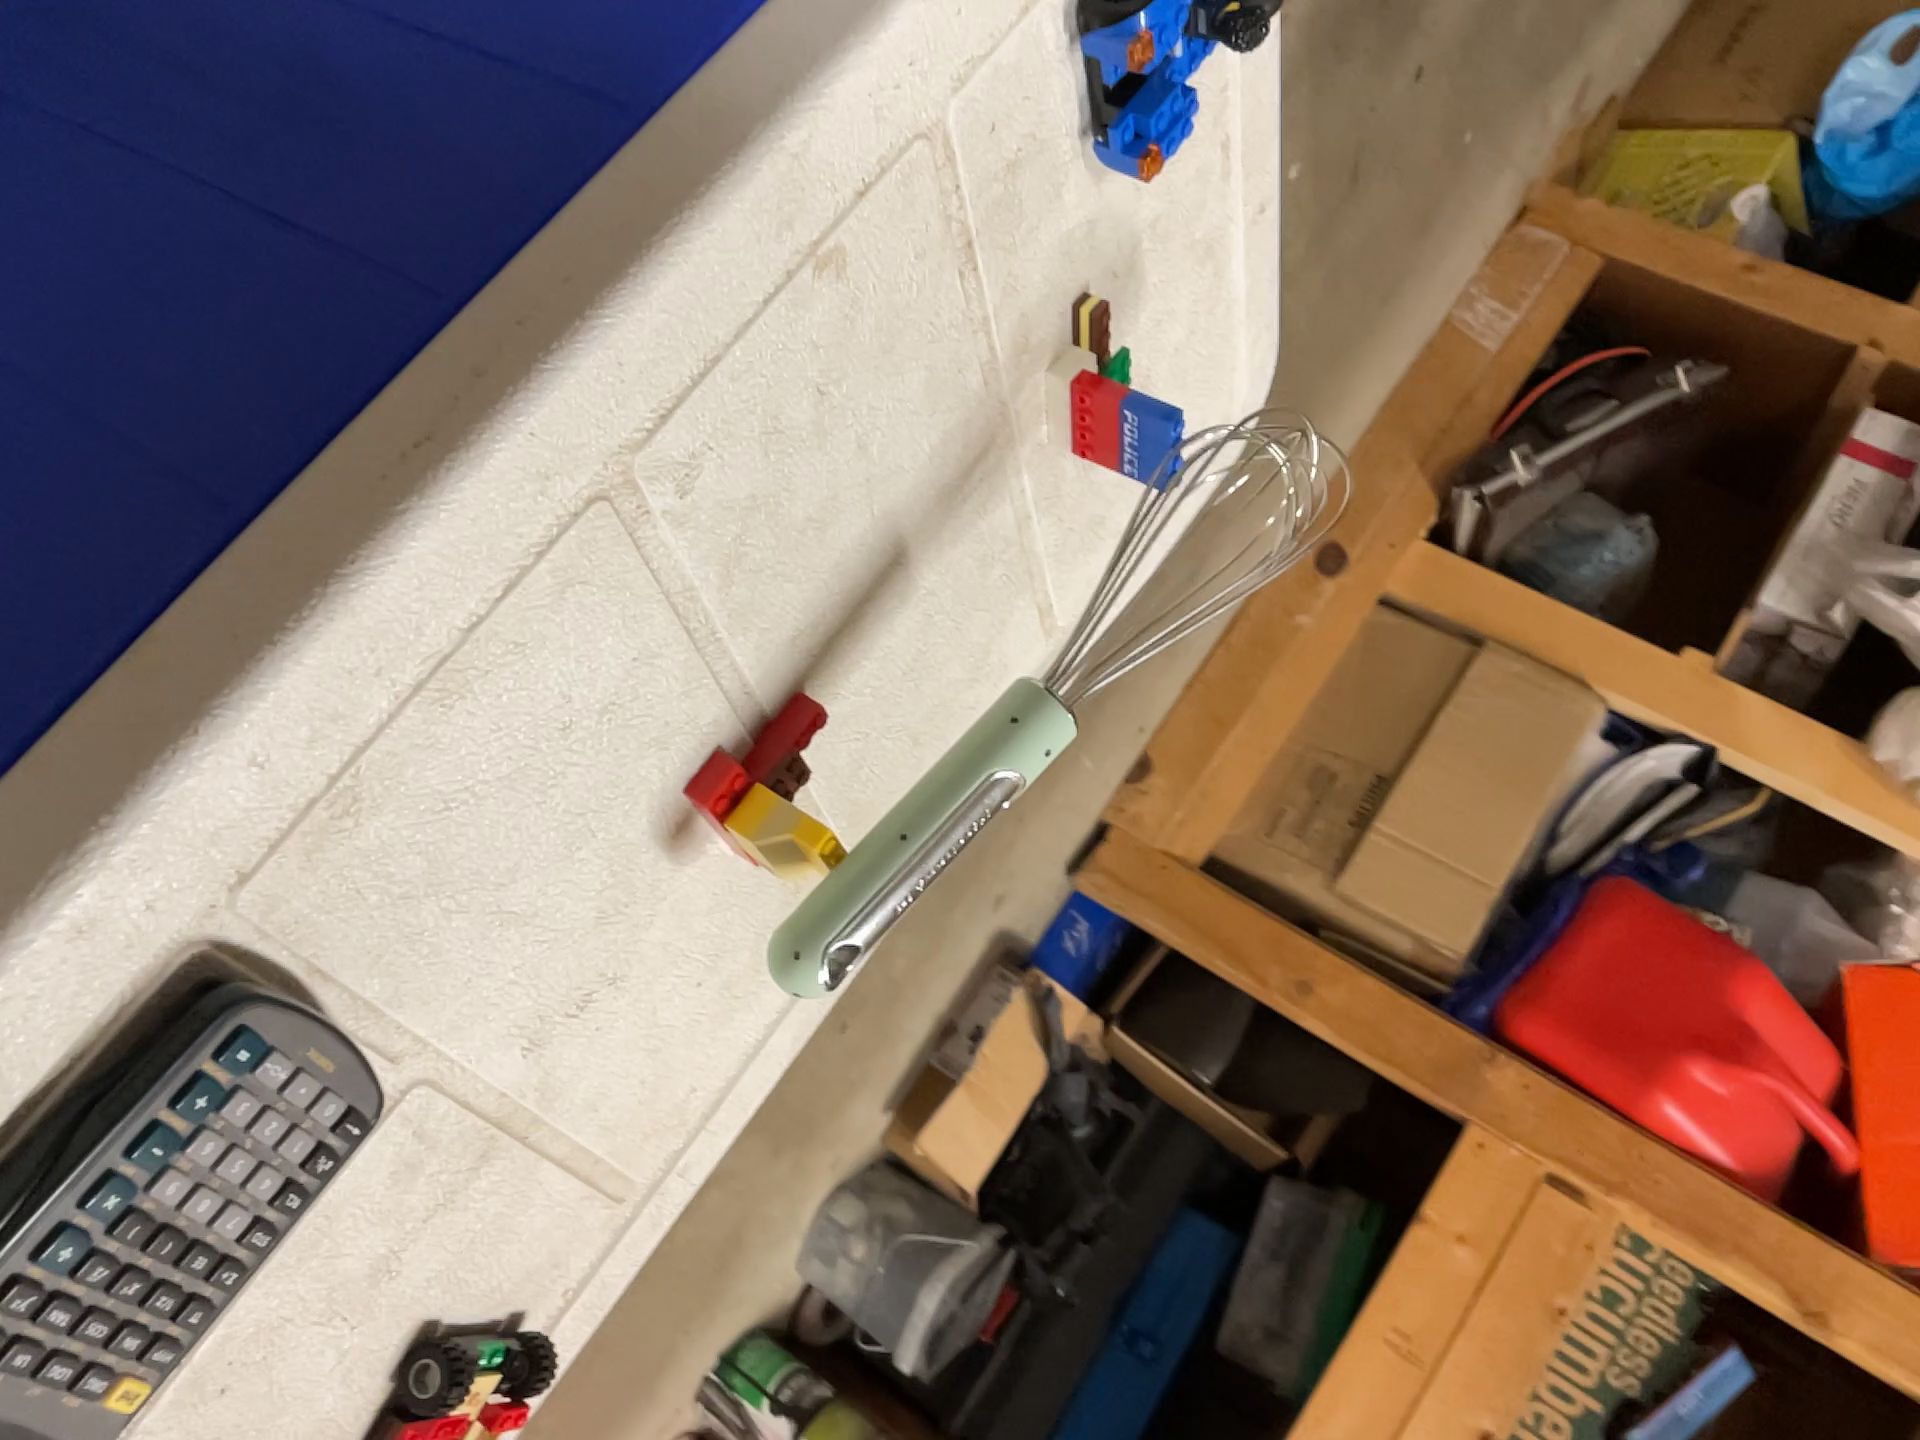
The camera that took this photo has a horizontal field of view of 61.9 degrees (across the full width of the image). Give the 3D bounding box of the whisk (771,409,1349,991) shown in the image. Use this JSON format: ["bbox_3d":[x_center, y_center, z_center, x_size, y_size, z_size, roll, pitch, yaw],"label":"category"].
[{"bbox_3d":[0.033,-0.010,0.492,0.246,0.059,0.057,-46,146,-16],"label":"whisk"}]
